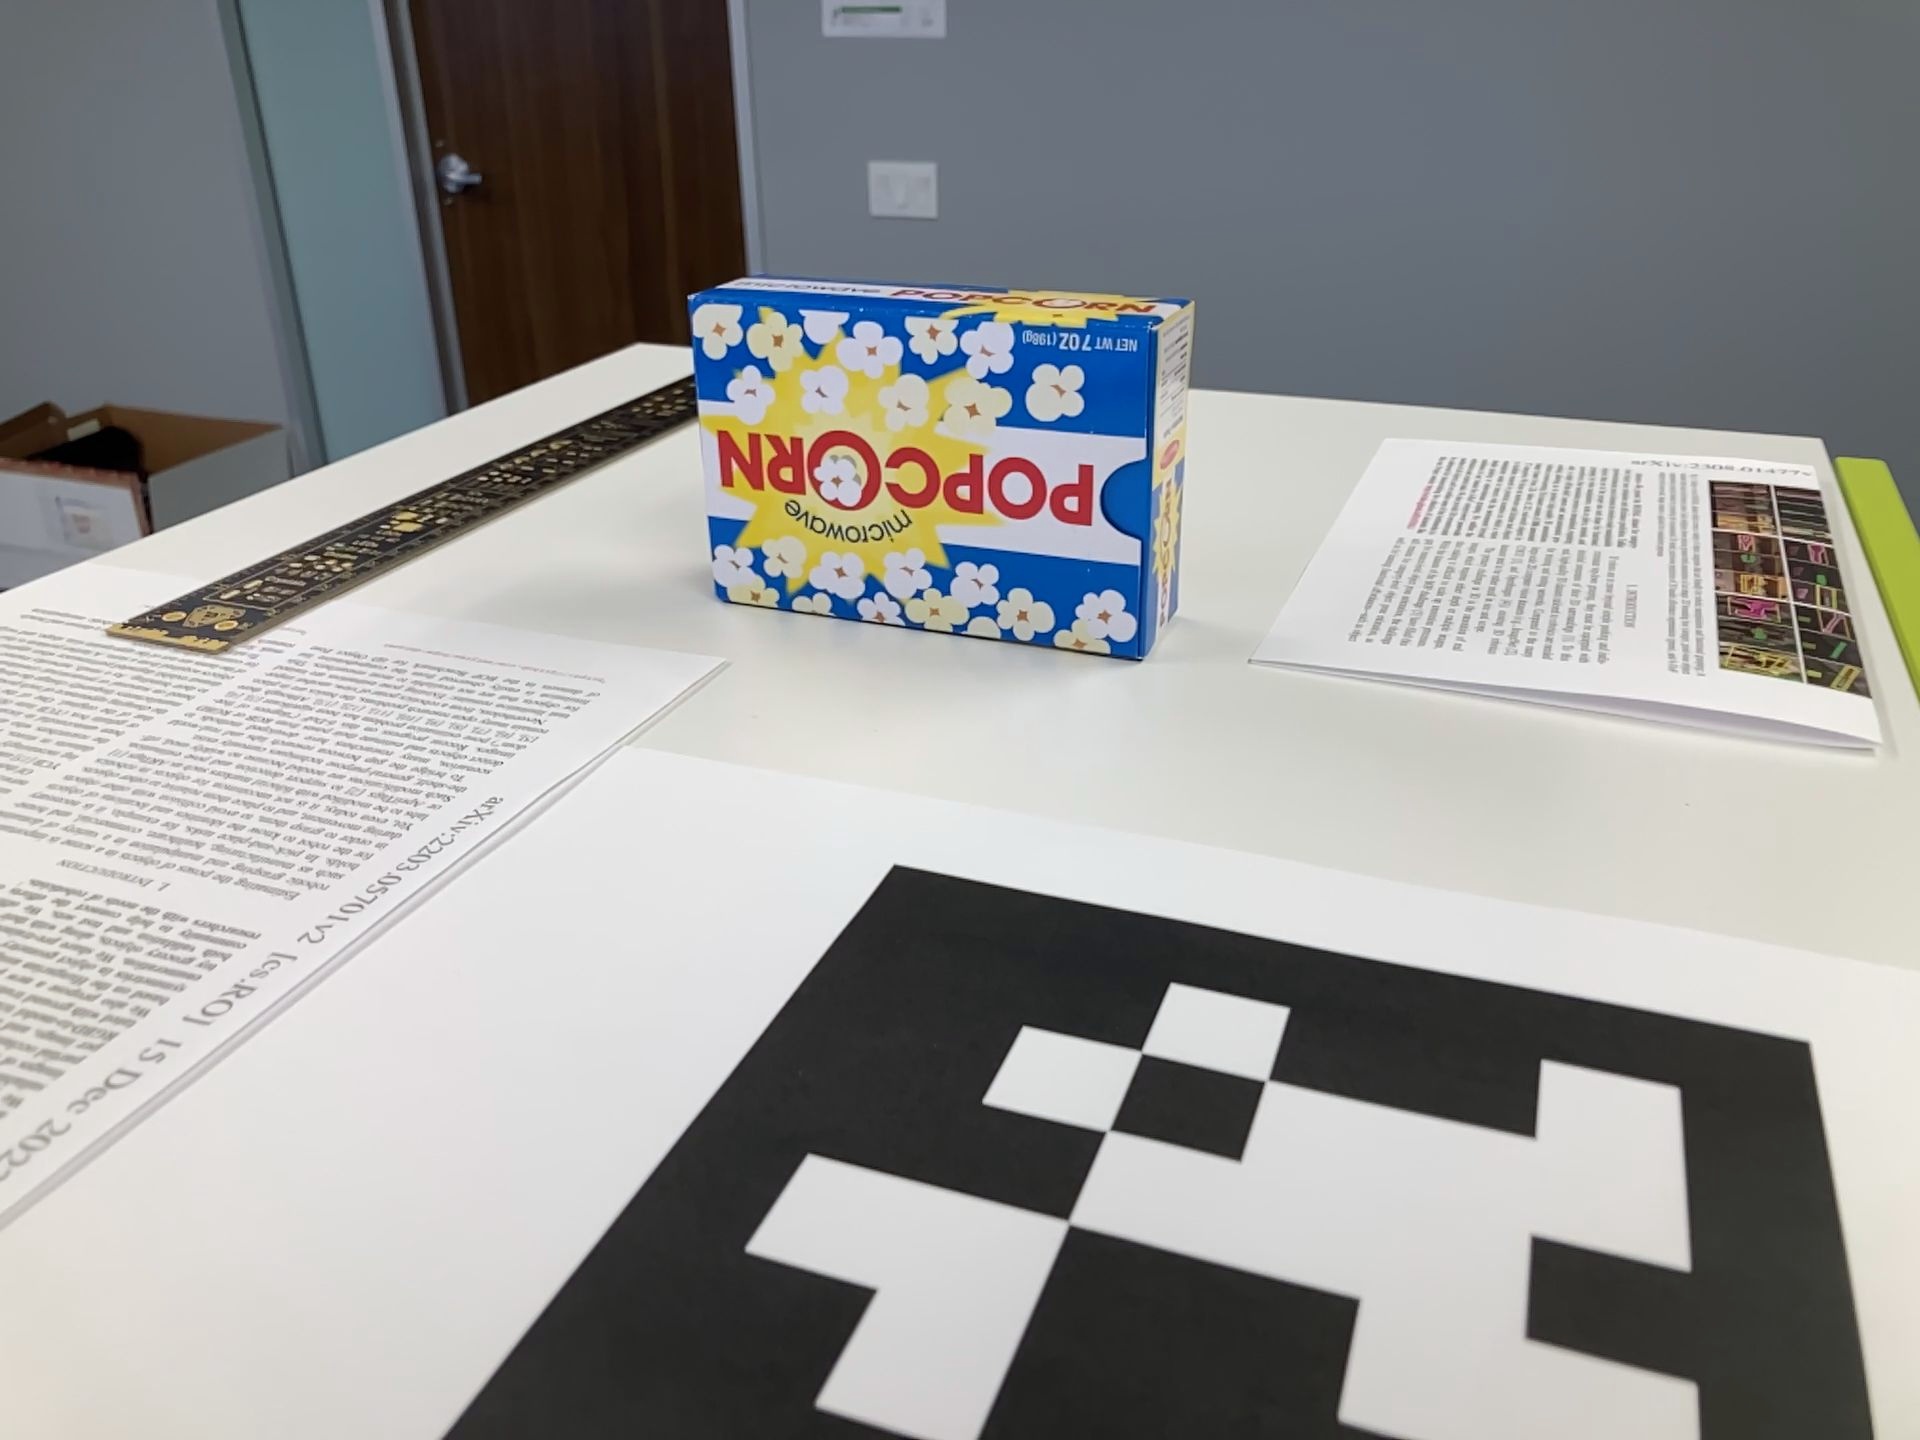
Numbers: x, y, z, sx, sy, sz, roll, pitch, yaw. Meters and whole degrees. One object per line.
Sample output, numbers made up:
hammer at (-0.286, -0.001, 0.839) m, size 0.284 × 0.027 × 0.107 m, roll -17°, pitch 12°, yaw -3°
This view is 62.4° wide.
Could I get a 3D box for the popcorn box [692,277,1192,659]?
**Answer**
popcorn box at (-0.006, -0.069, 0.420) m, size 0.126 × 0.085 × 0.038 m, roll 9°, pitch 26°, yaw 20°
